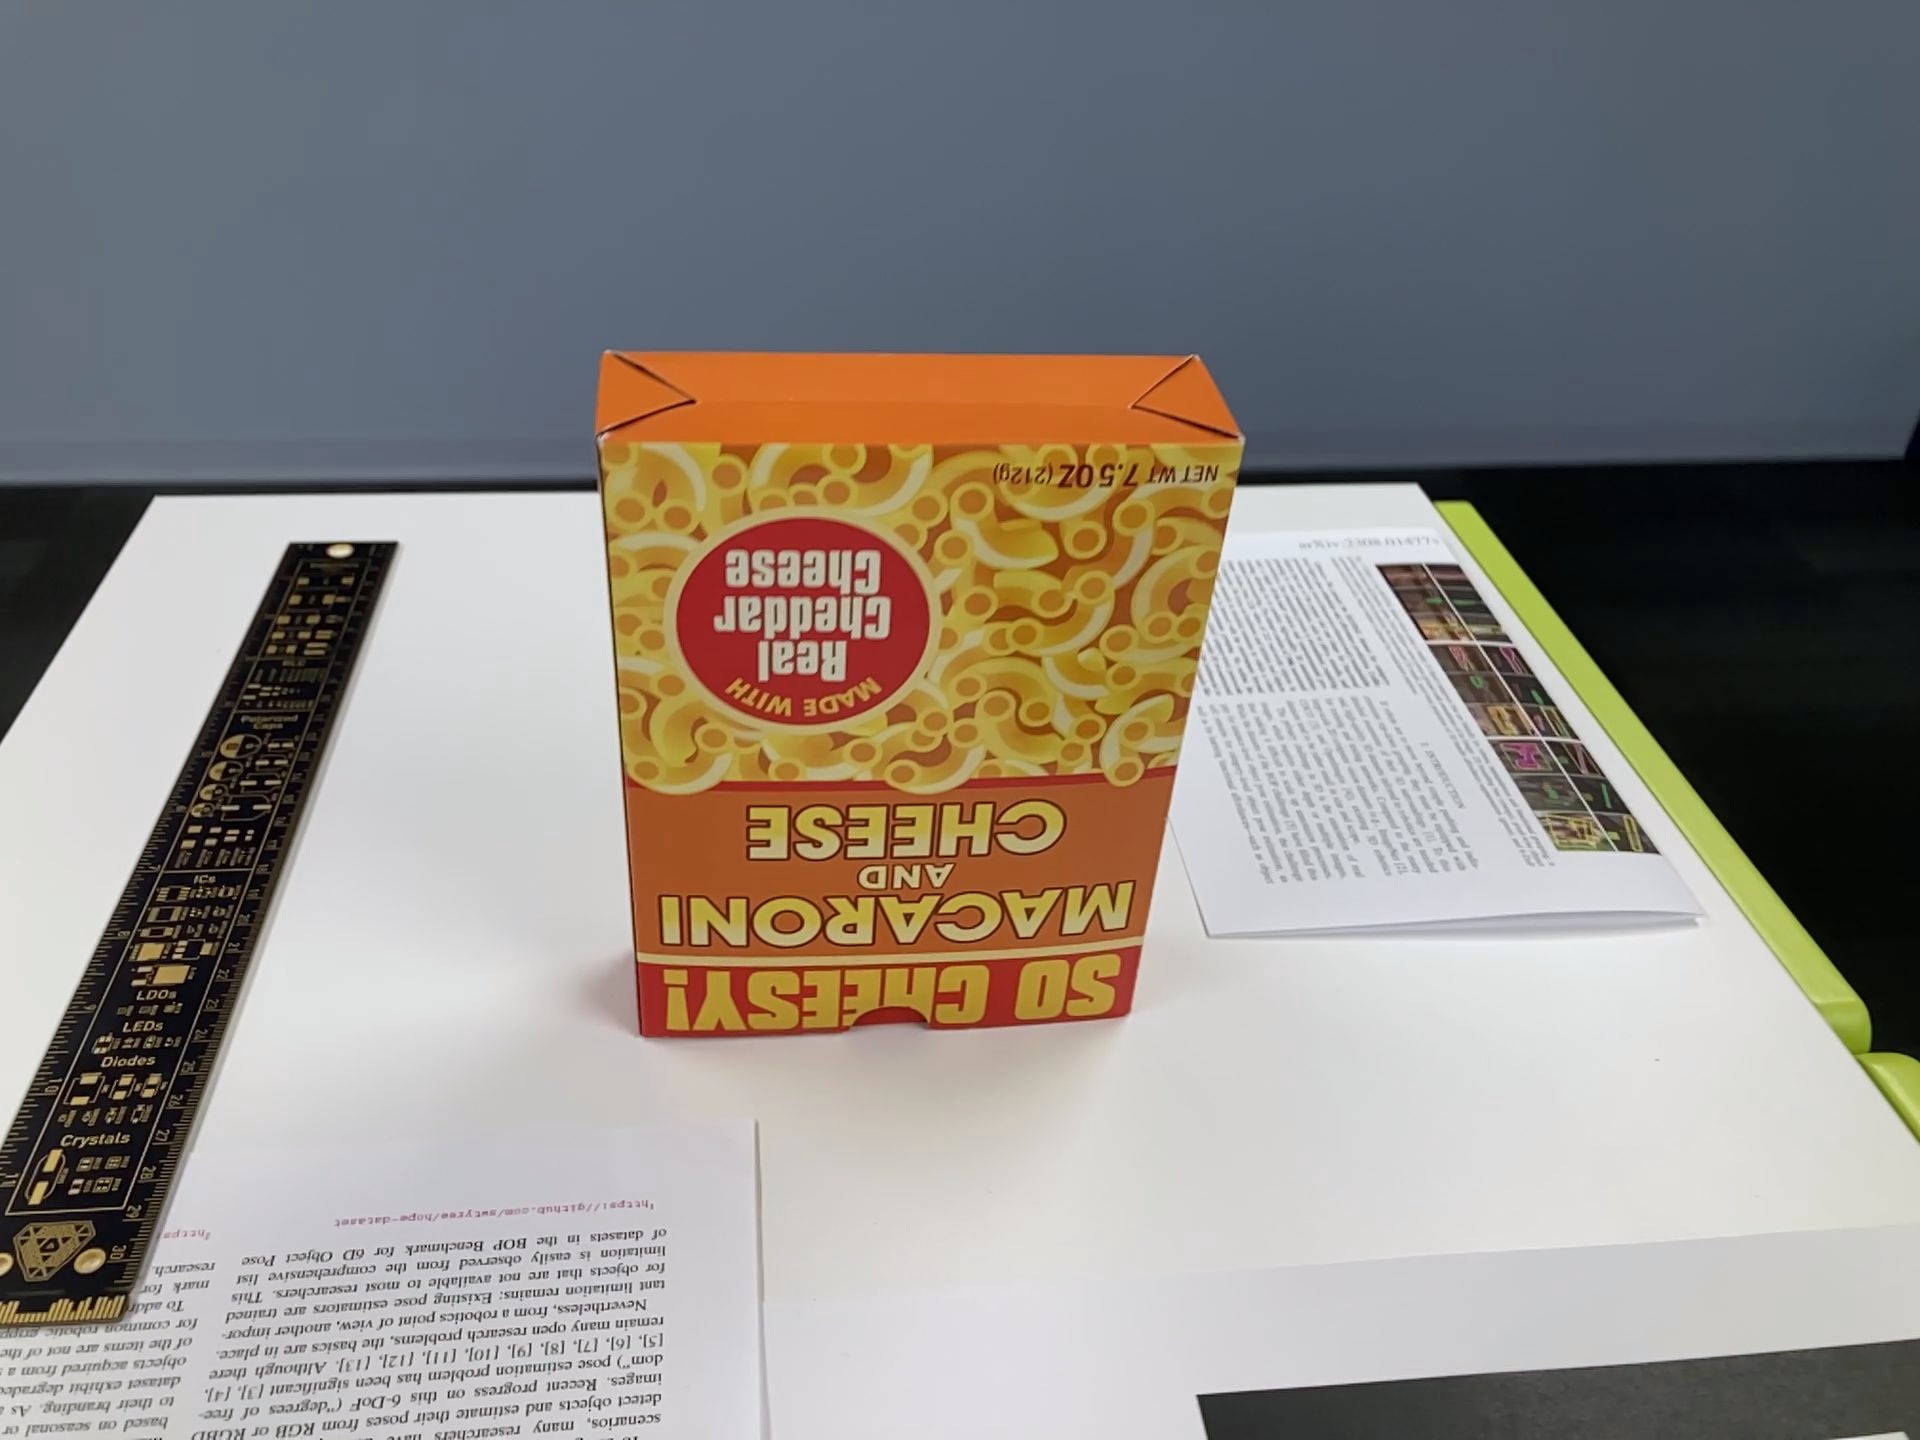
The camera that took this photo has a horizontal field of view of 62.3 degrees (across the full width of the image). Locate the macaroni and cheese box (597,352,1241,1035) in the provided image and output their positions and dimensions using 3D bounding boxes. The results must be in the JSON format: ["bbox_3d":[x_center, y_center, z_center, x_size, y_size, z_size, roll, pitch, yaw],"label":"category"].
[{"bbox_3d":[-0.015,0.002,0.361,0.124,0.166,0.040,0,38,-8],"label":"macaroni and cheese box"}]
